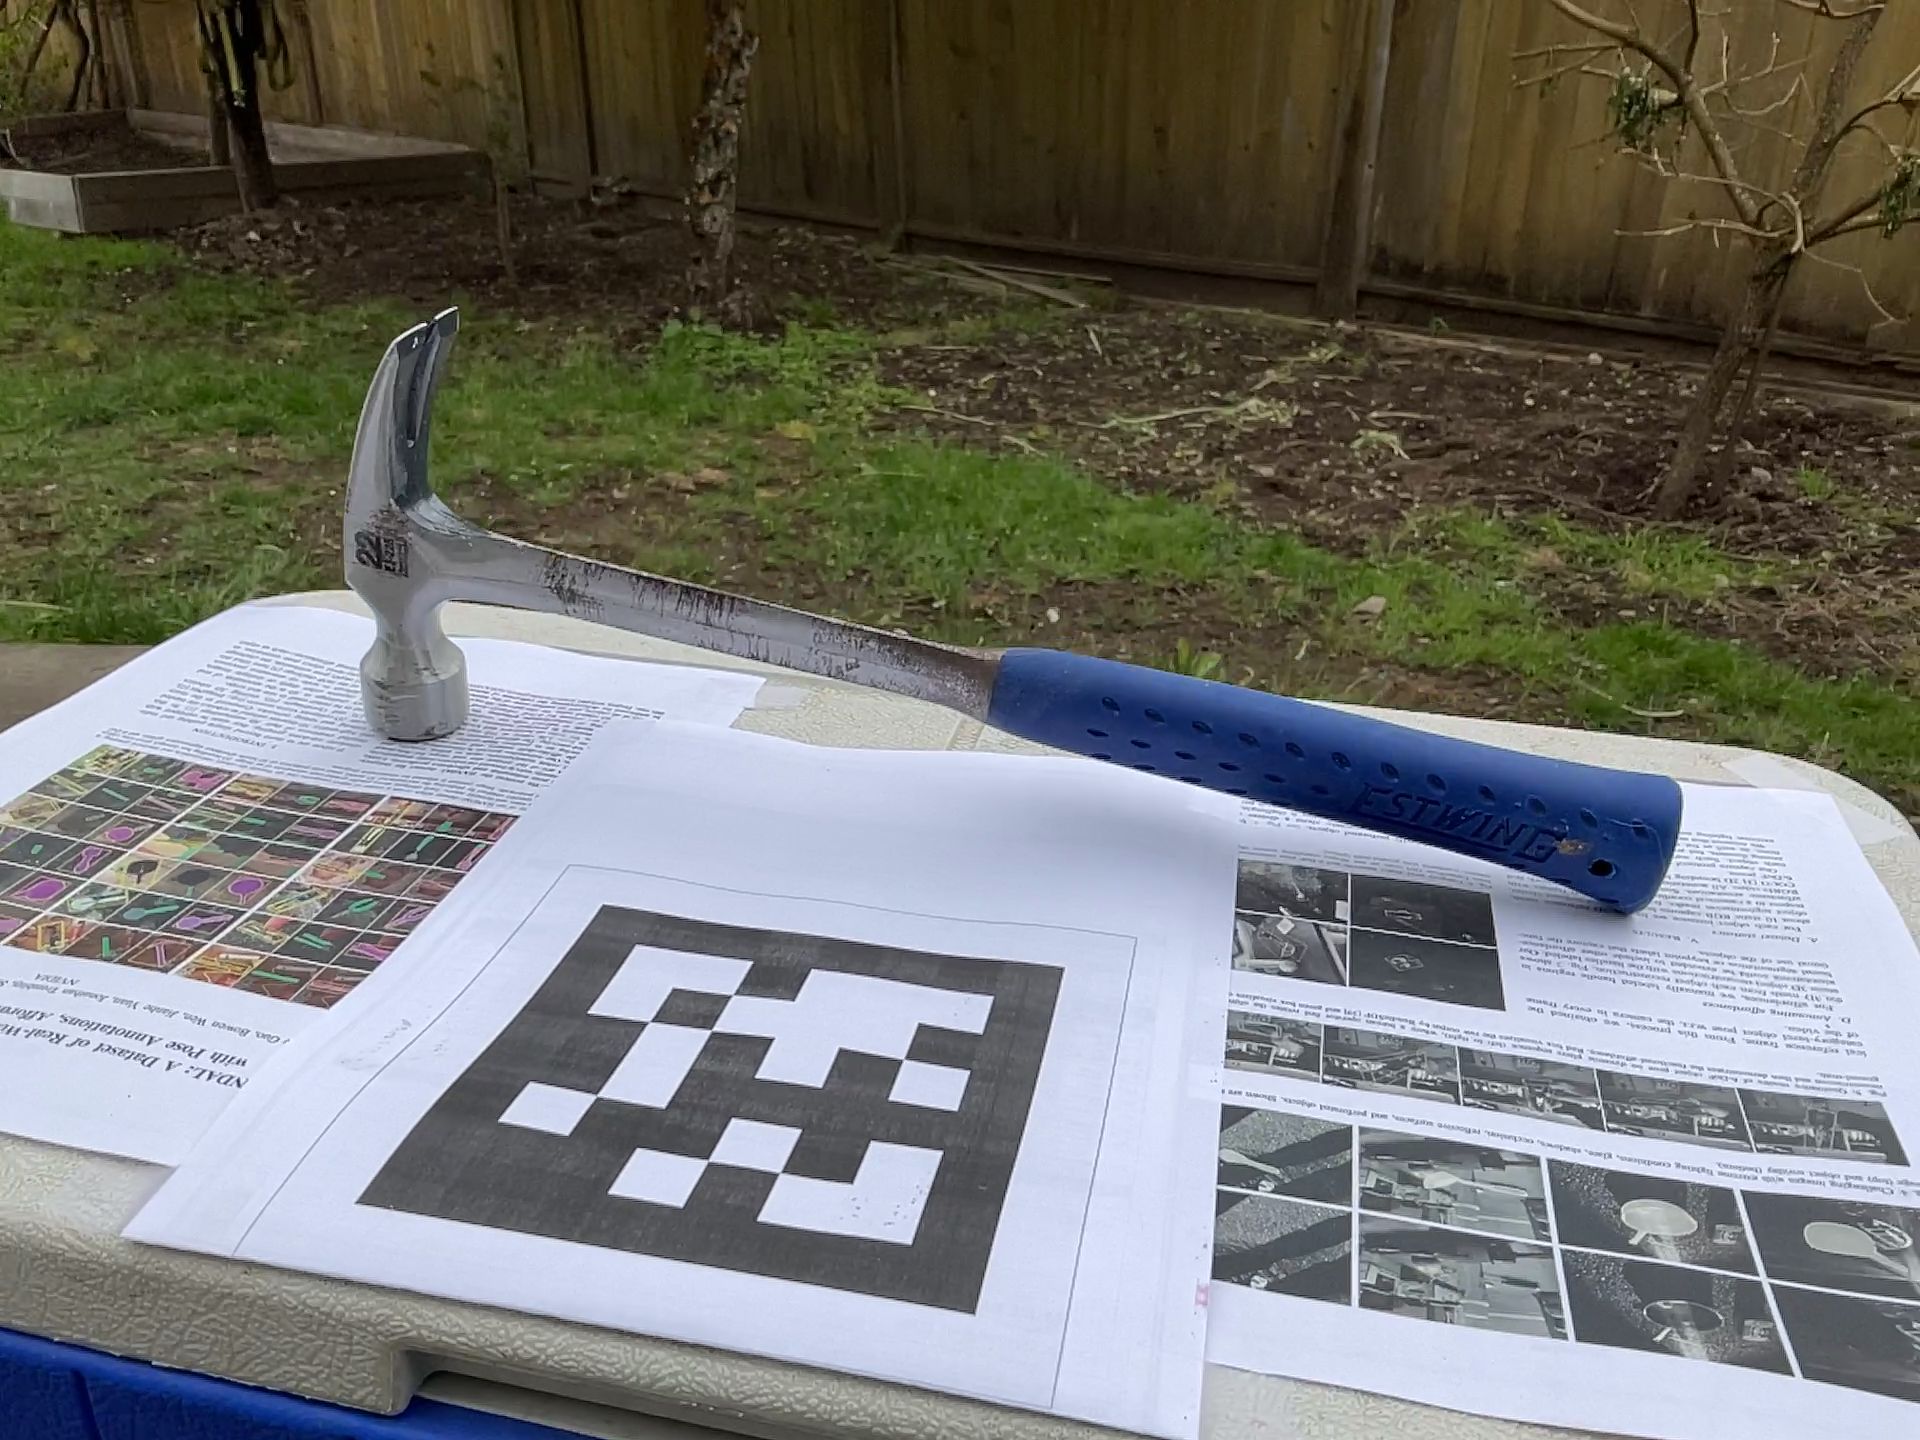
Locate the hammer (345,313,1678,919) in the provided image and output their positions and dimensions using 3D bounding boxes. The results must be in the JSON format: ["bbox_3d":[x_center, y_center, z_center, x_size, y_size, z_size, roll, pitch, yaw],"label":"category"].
[{"bbox_3d":[0.001,-0.015,0.477,0.405,0.144,0.035,14,34,9],"label":"hammer"}]
